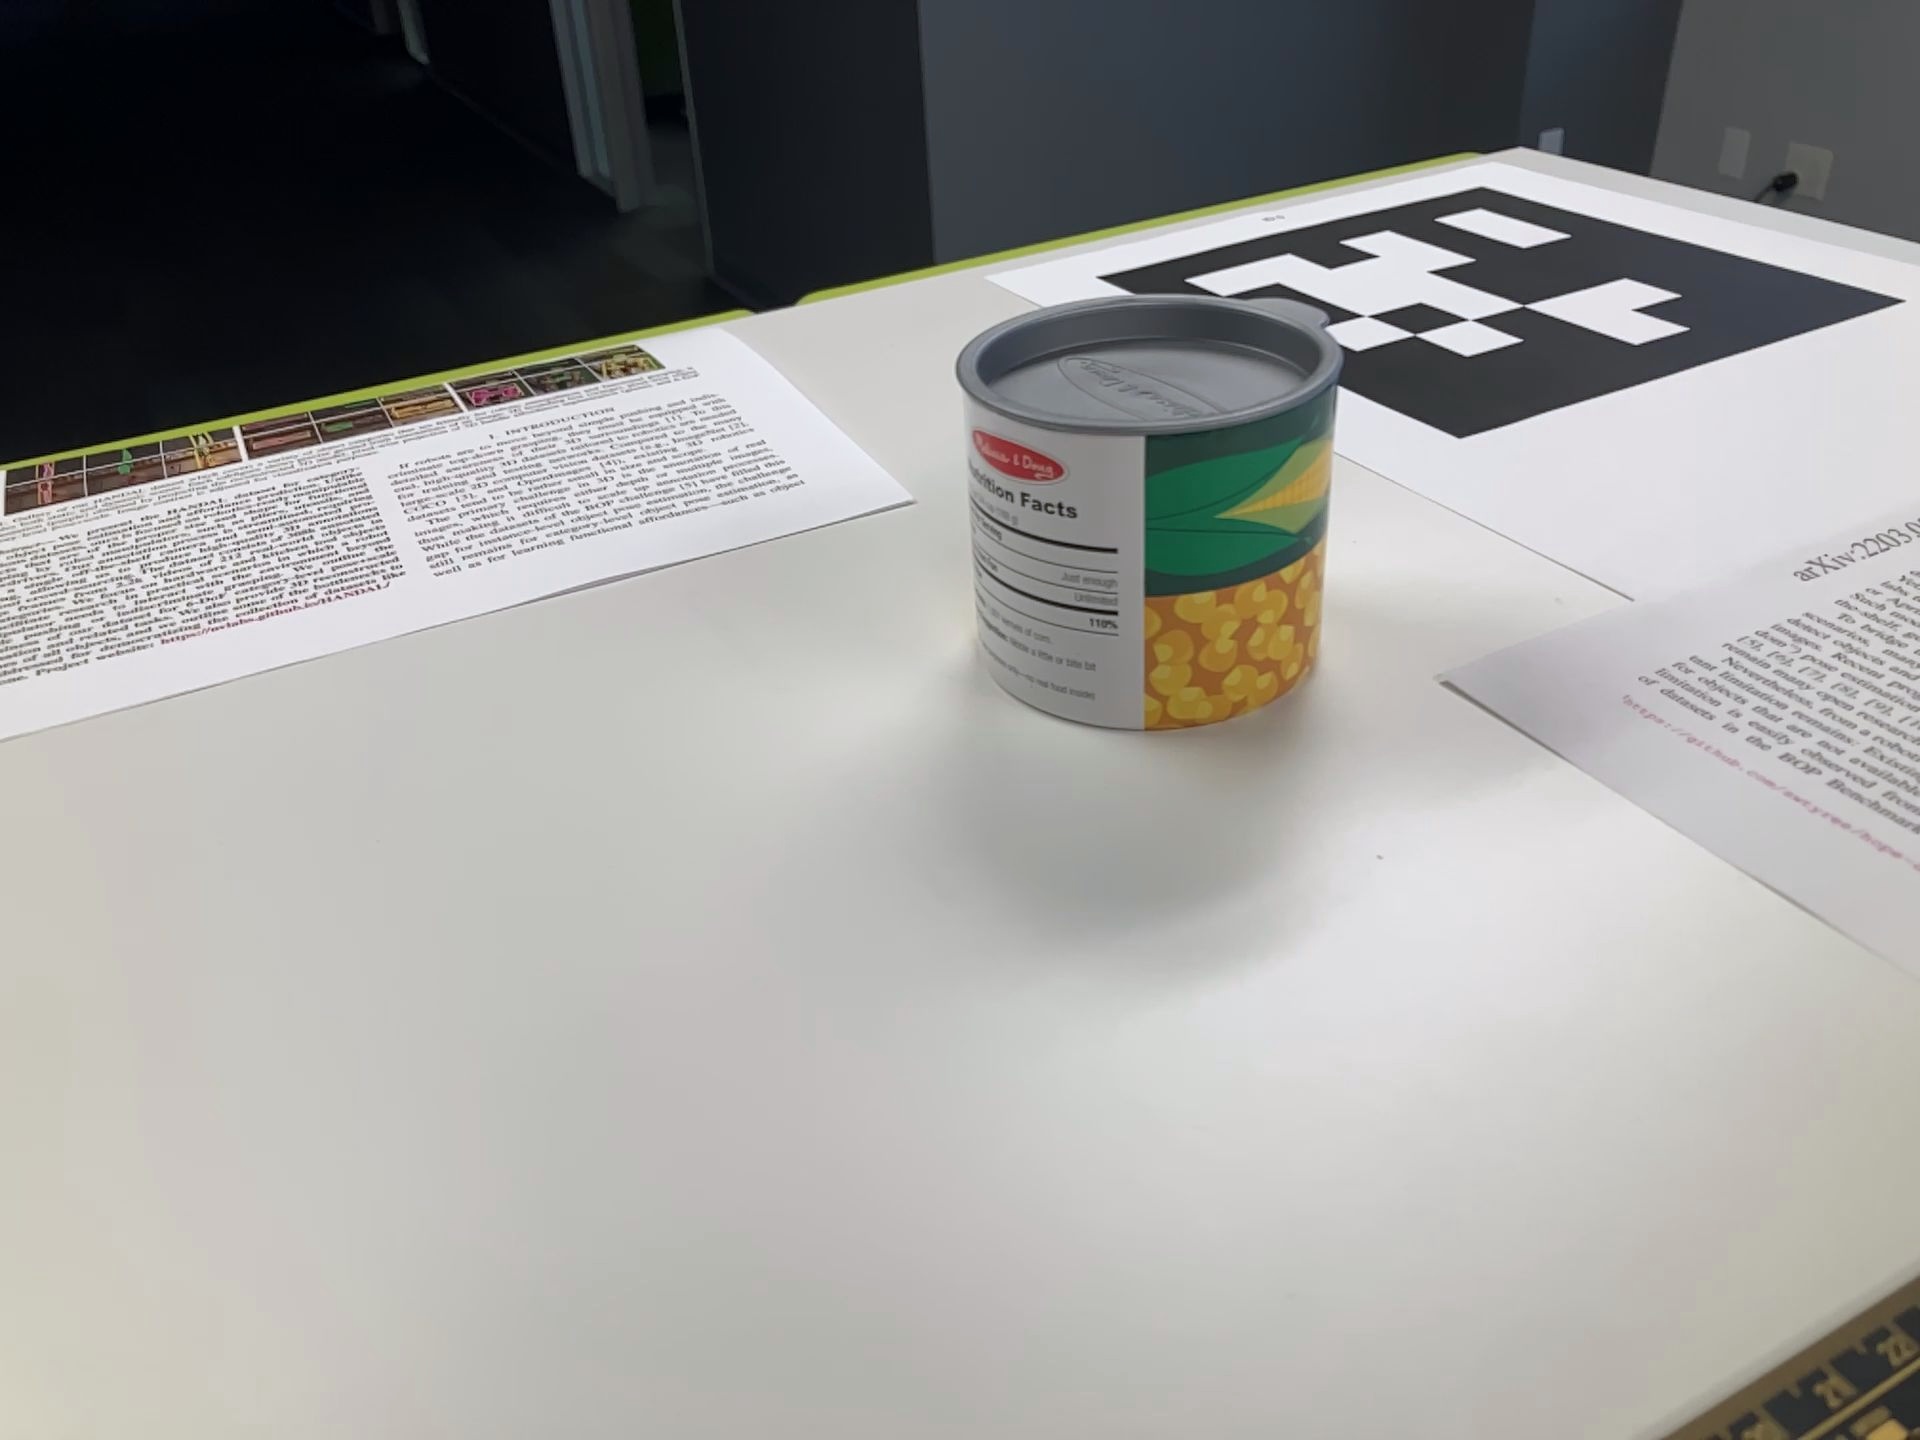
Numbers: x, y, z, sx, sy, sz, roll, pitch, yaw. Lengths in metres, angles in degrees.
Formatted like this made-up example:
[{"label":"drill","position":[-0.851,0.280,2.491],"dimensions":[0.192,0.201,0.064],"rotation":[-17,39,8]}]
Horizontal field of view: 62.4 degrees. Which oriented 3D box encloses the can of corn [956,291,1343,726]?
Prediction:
[{"label":"can of corn","position":[0.036,-0.041,0.290],"dimensions":[0.071,0.058,0.071],"rotation":[-3,32,2]}]
